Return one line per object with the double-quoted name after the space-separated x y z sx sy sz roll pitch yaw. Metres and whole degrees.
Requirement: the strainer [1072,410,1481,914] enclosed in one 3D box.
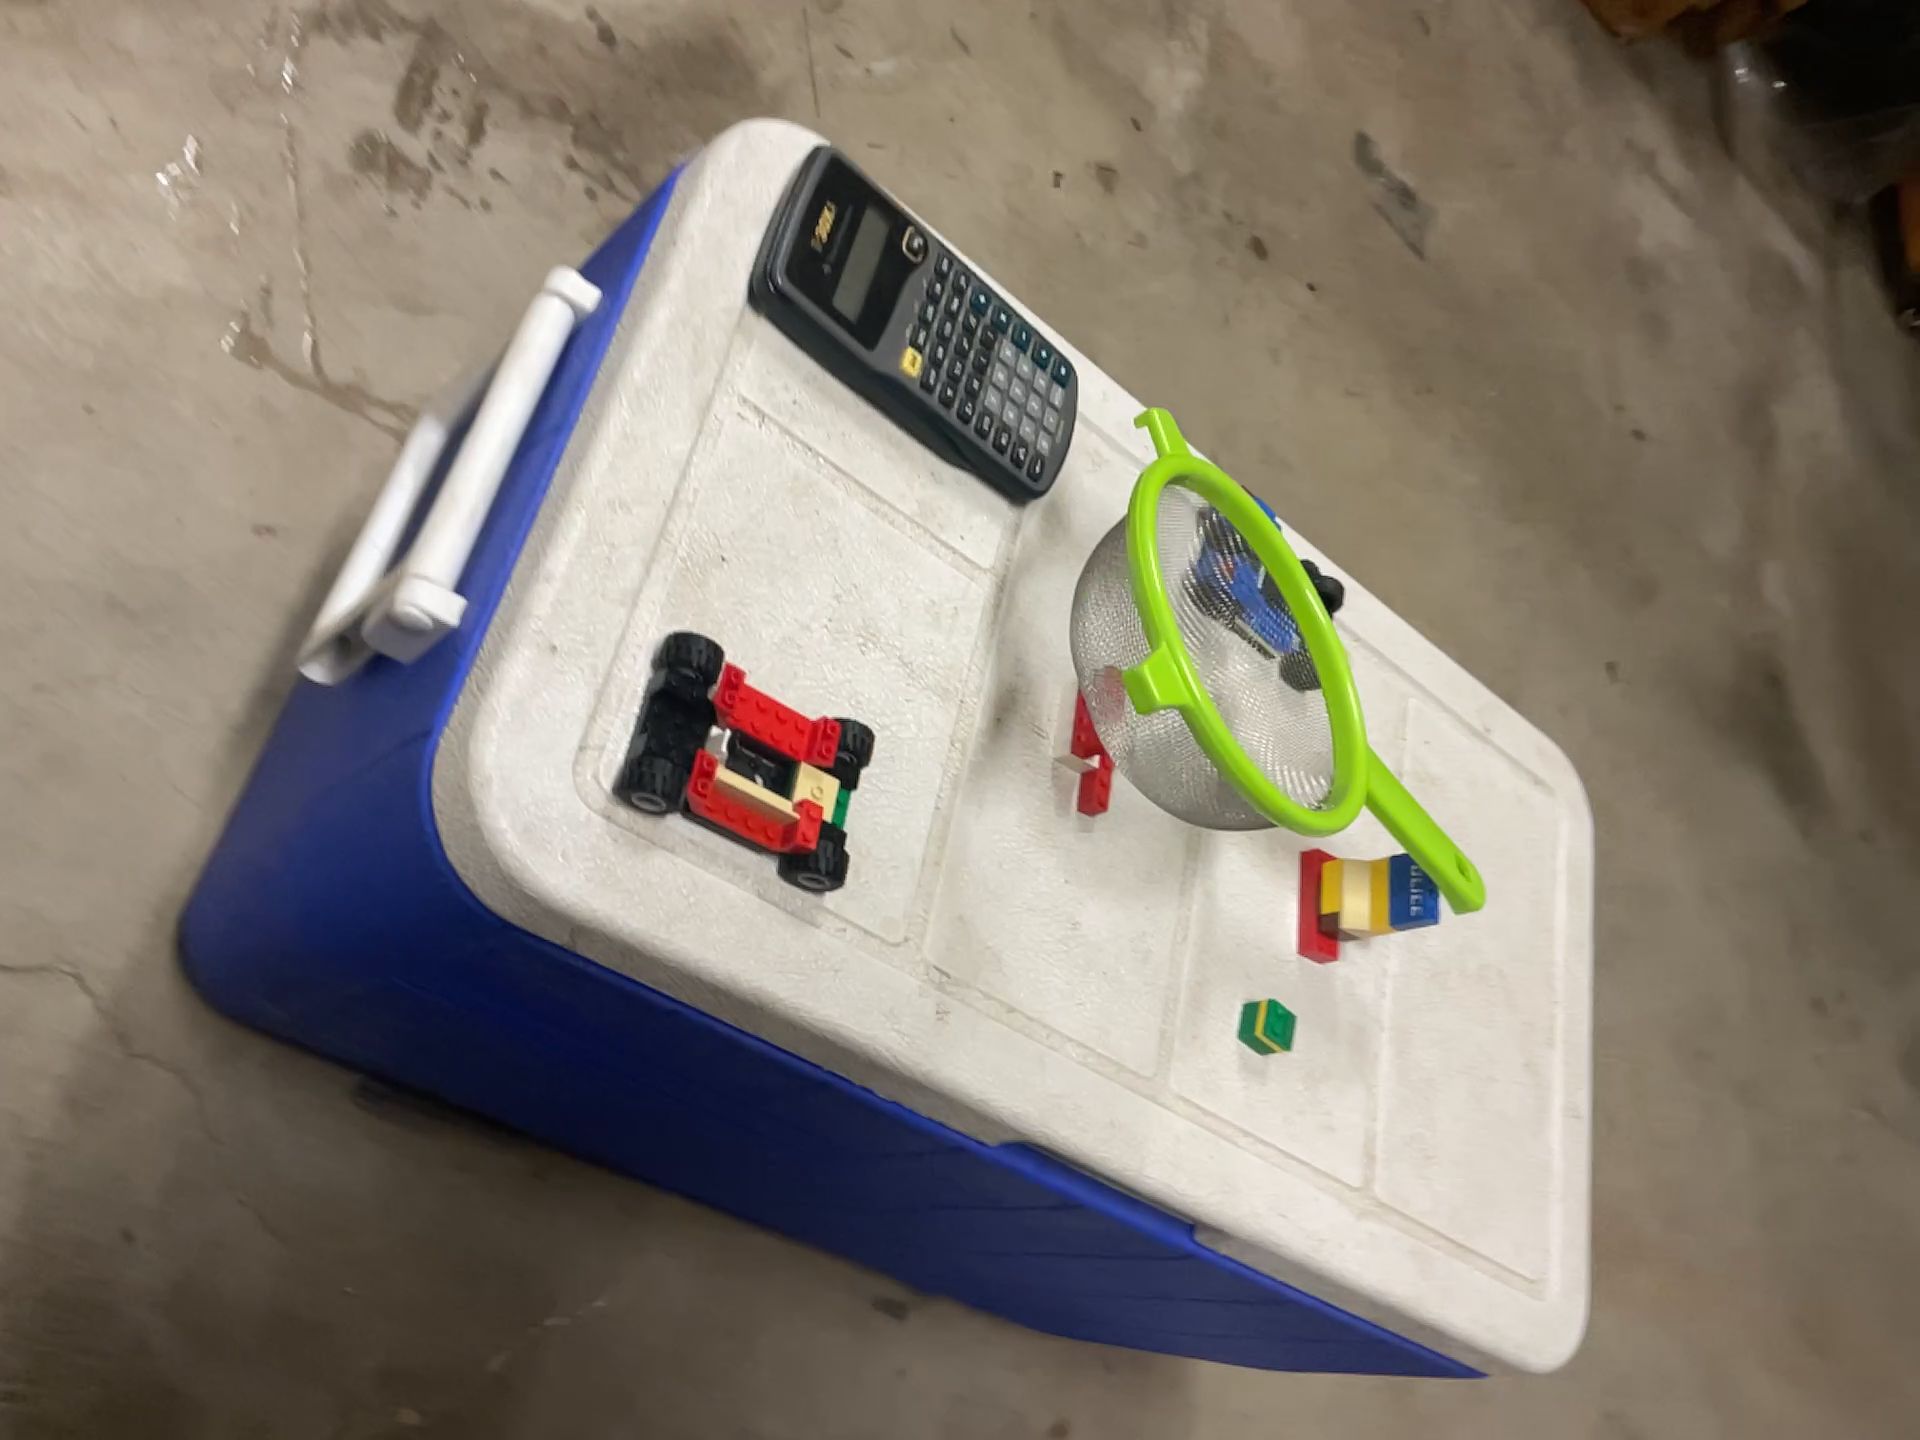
0.119 0.011 0.629 0.256 0.069 0.152 43 37 -33 "strainer"
